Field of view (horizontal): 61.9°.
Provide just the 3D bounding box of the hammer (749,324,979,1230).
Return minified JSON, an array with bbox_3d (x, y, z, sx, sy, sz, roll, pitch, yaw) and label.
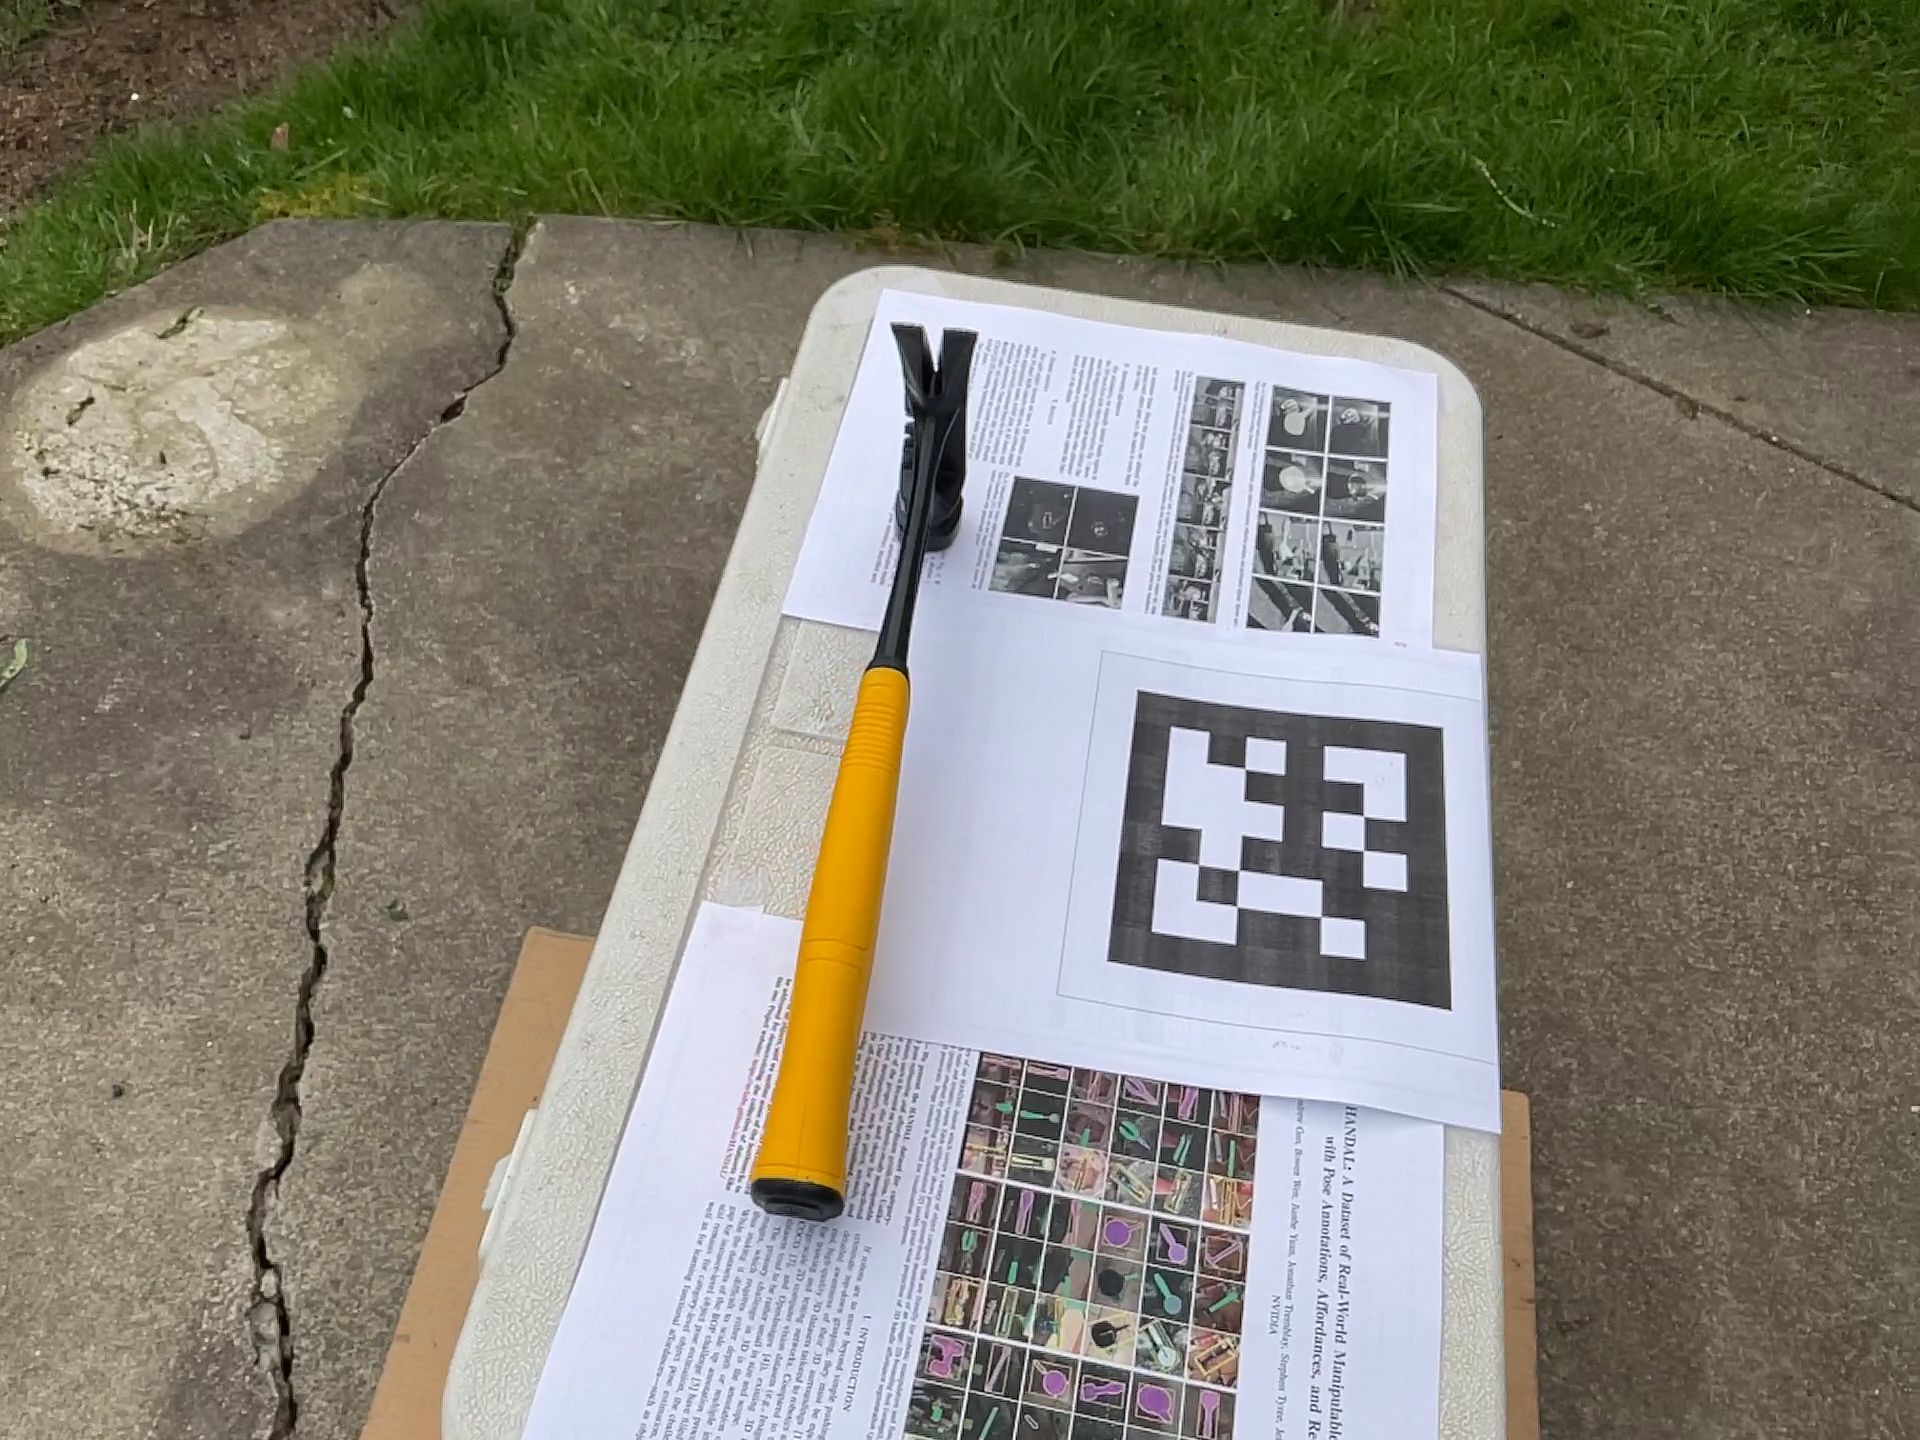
[{"bbox_3d":[-0.032,0.013,0.594,0.034,0.127,0.337,7,61,2],"label":"hammer"}]
